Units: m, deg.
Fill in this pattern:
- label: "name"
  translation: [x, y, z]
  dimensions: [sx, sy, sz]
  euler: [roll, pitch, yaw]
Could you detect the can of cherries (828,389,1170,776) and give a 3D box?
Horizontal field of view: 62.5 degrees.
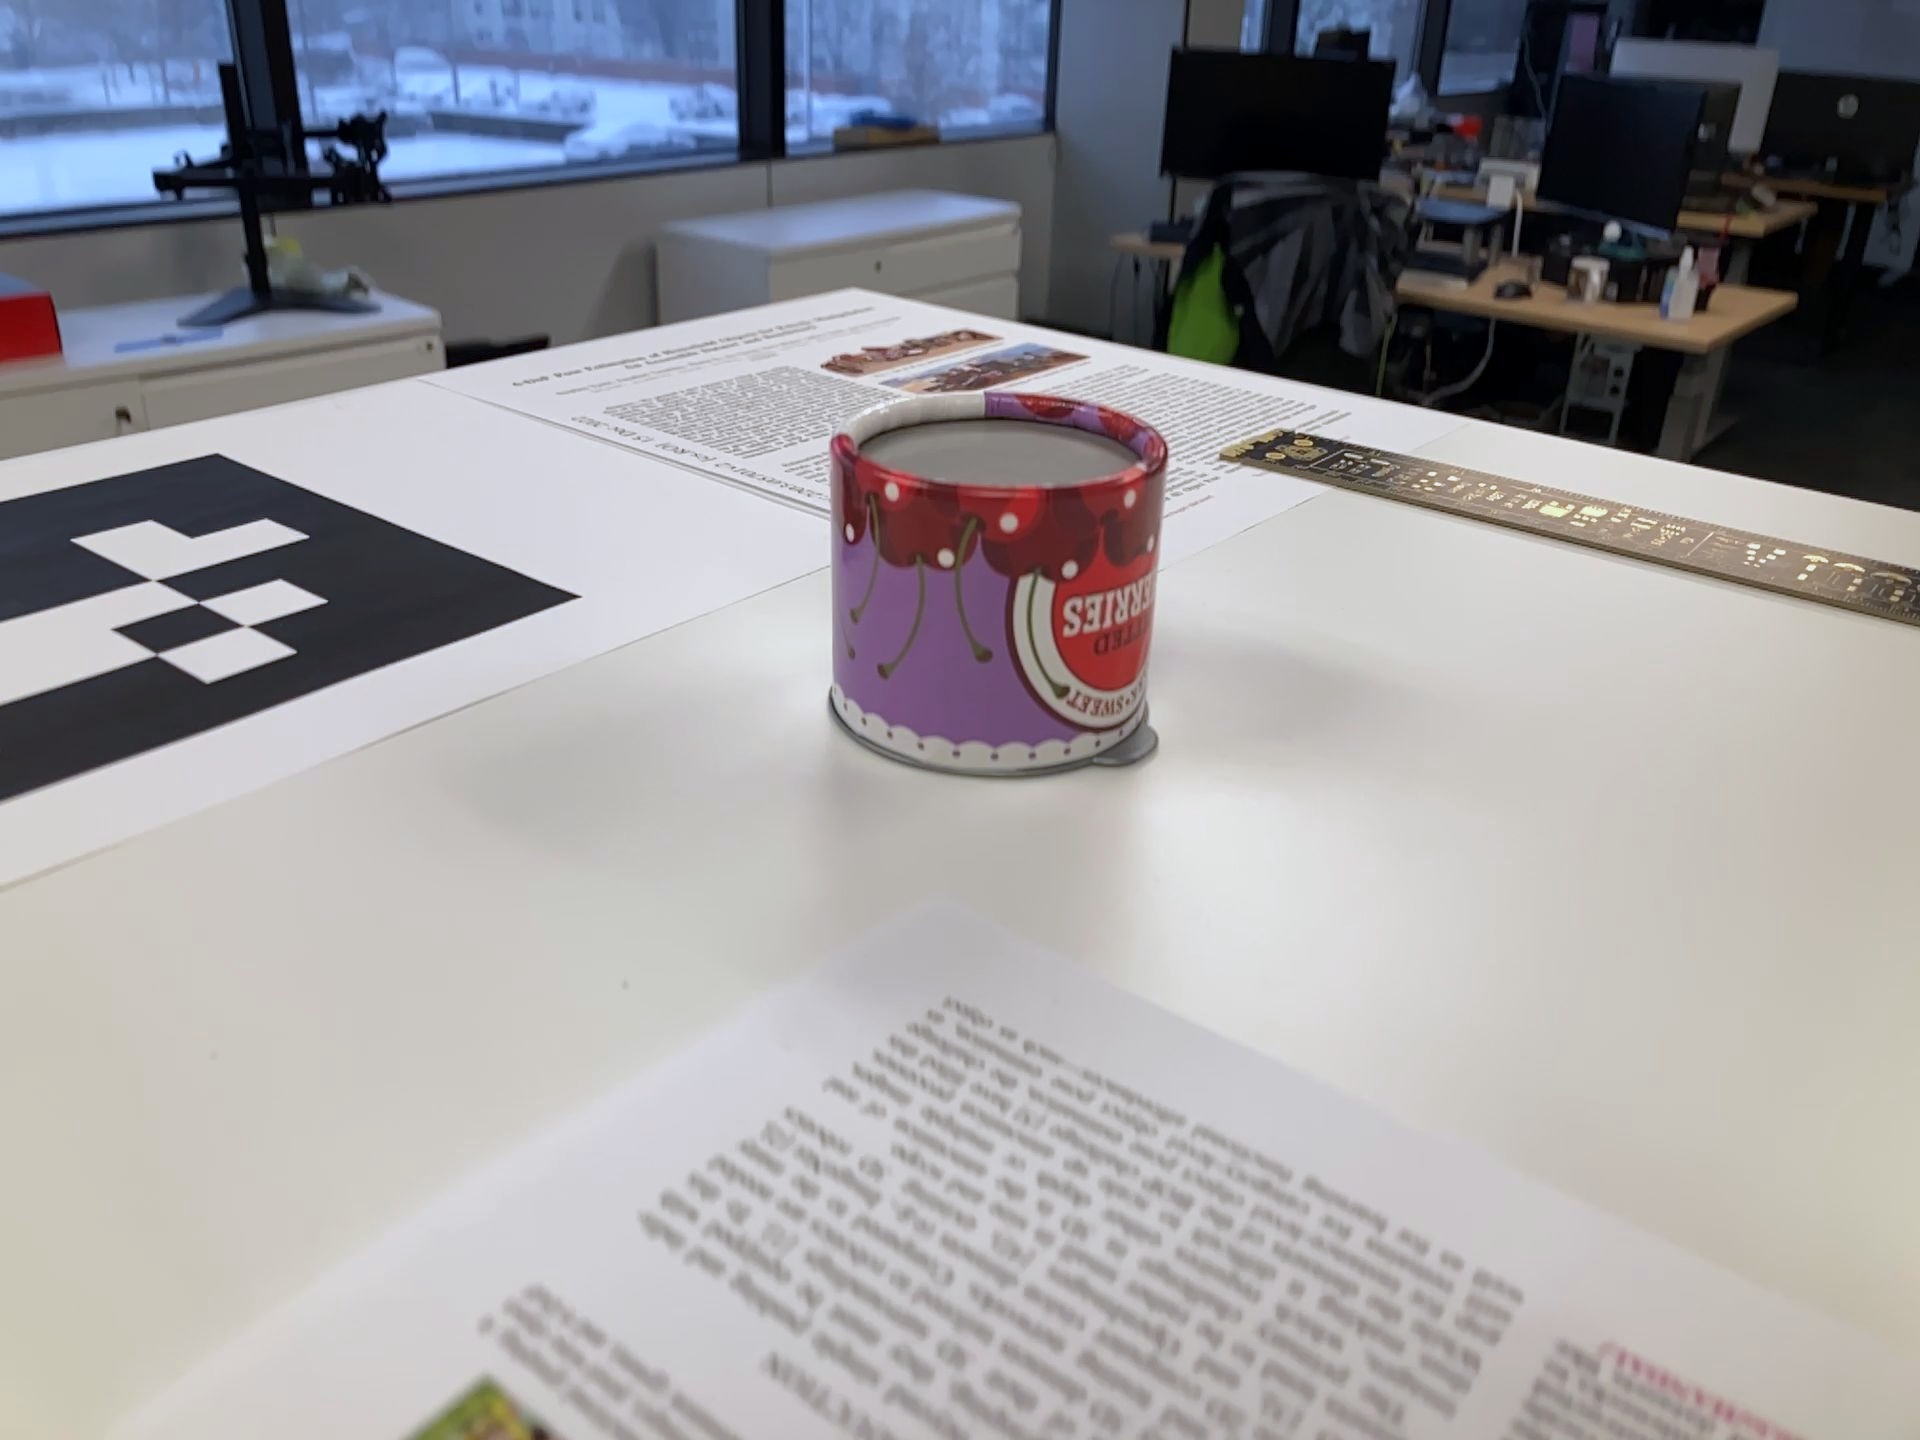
- label: "can of cherries"
  translation: [0.009, -0.029, 0.314]
  dimensions: [0.071, 0.058, 0.071]
  euler: [2, 26, -1]
